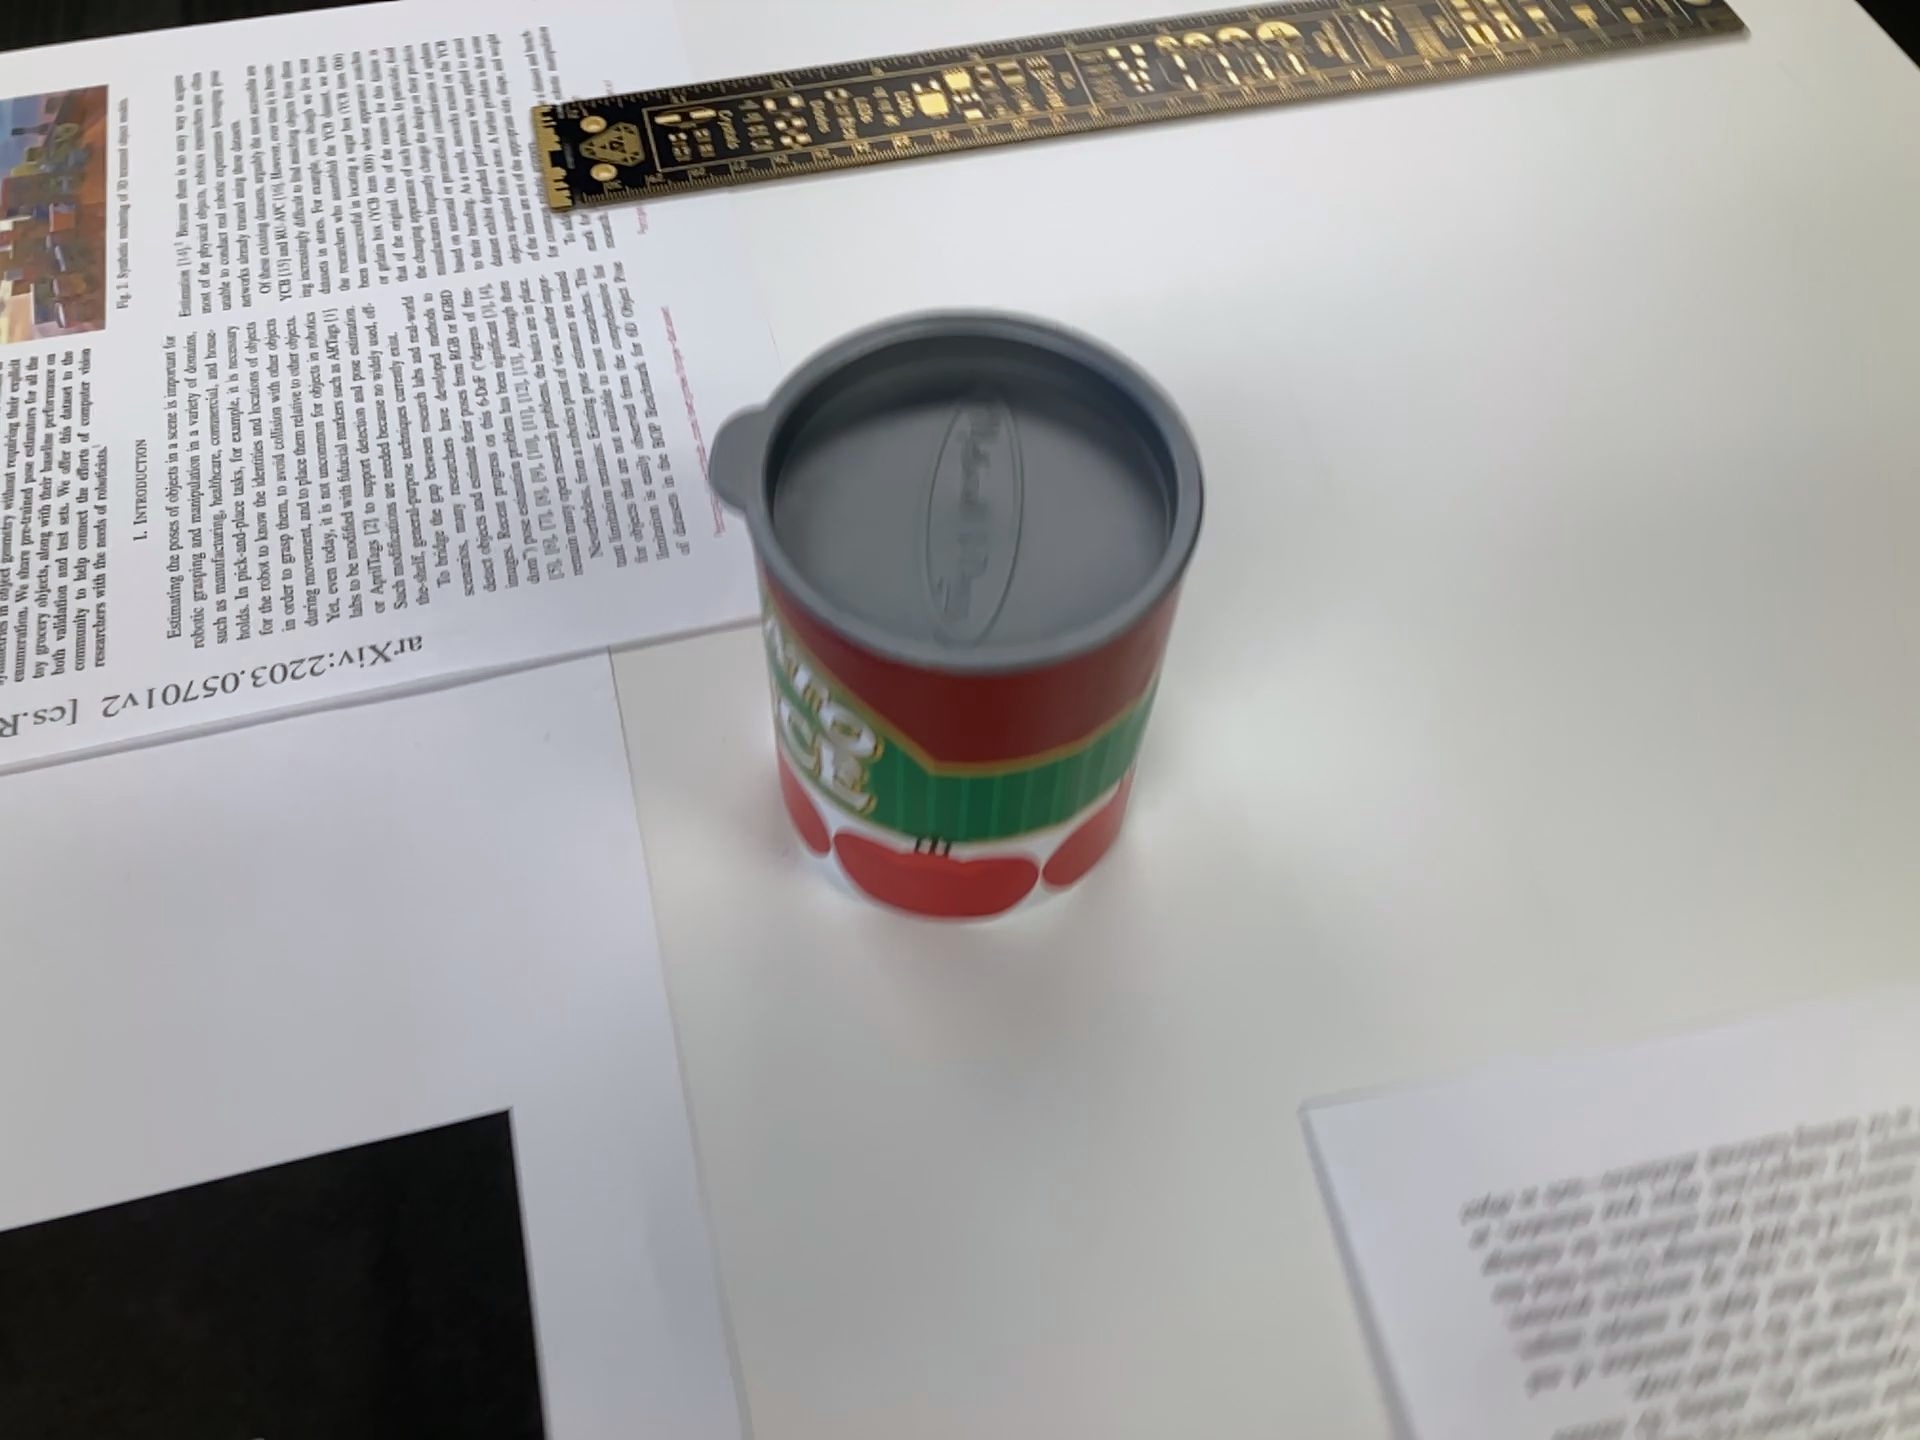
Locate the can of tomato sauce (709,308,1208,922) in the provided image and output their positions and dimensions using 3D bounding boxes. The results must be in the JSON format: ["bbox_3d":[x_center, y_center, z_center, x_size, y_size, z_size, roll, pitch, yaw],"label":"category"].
[{"bbox_3d":[-0.001,-0.013,0.260,0.071,0.083,0.071,1,57,-2],"label":"can of tomato sauce"}]
